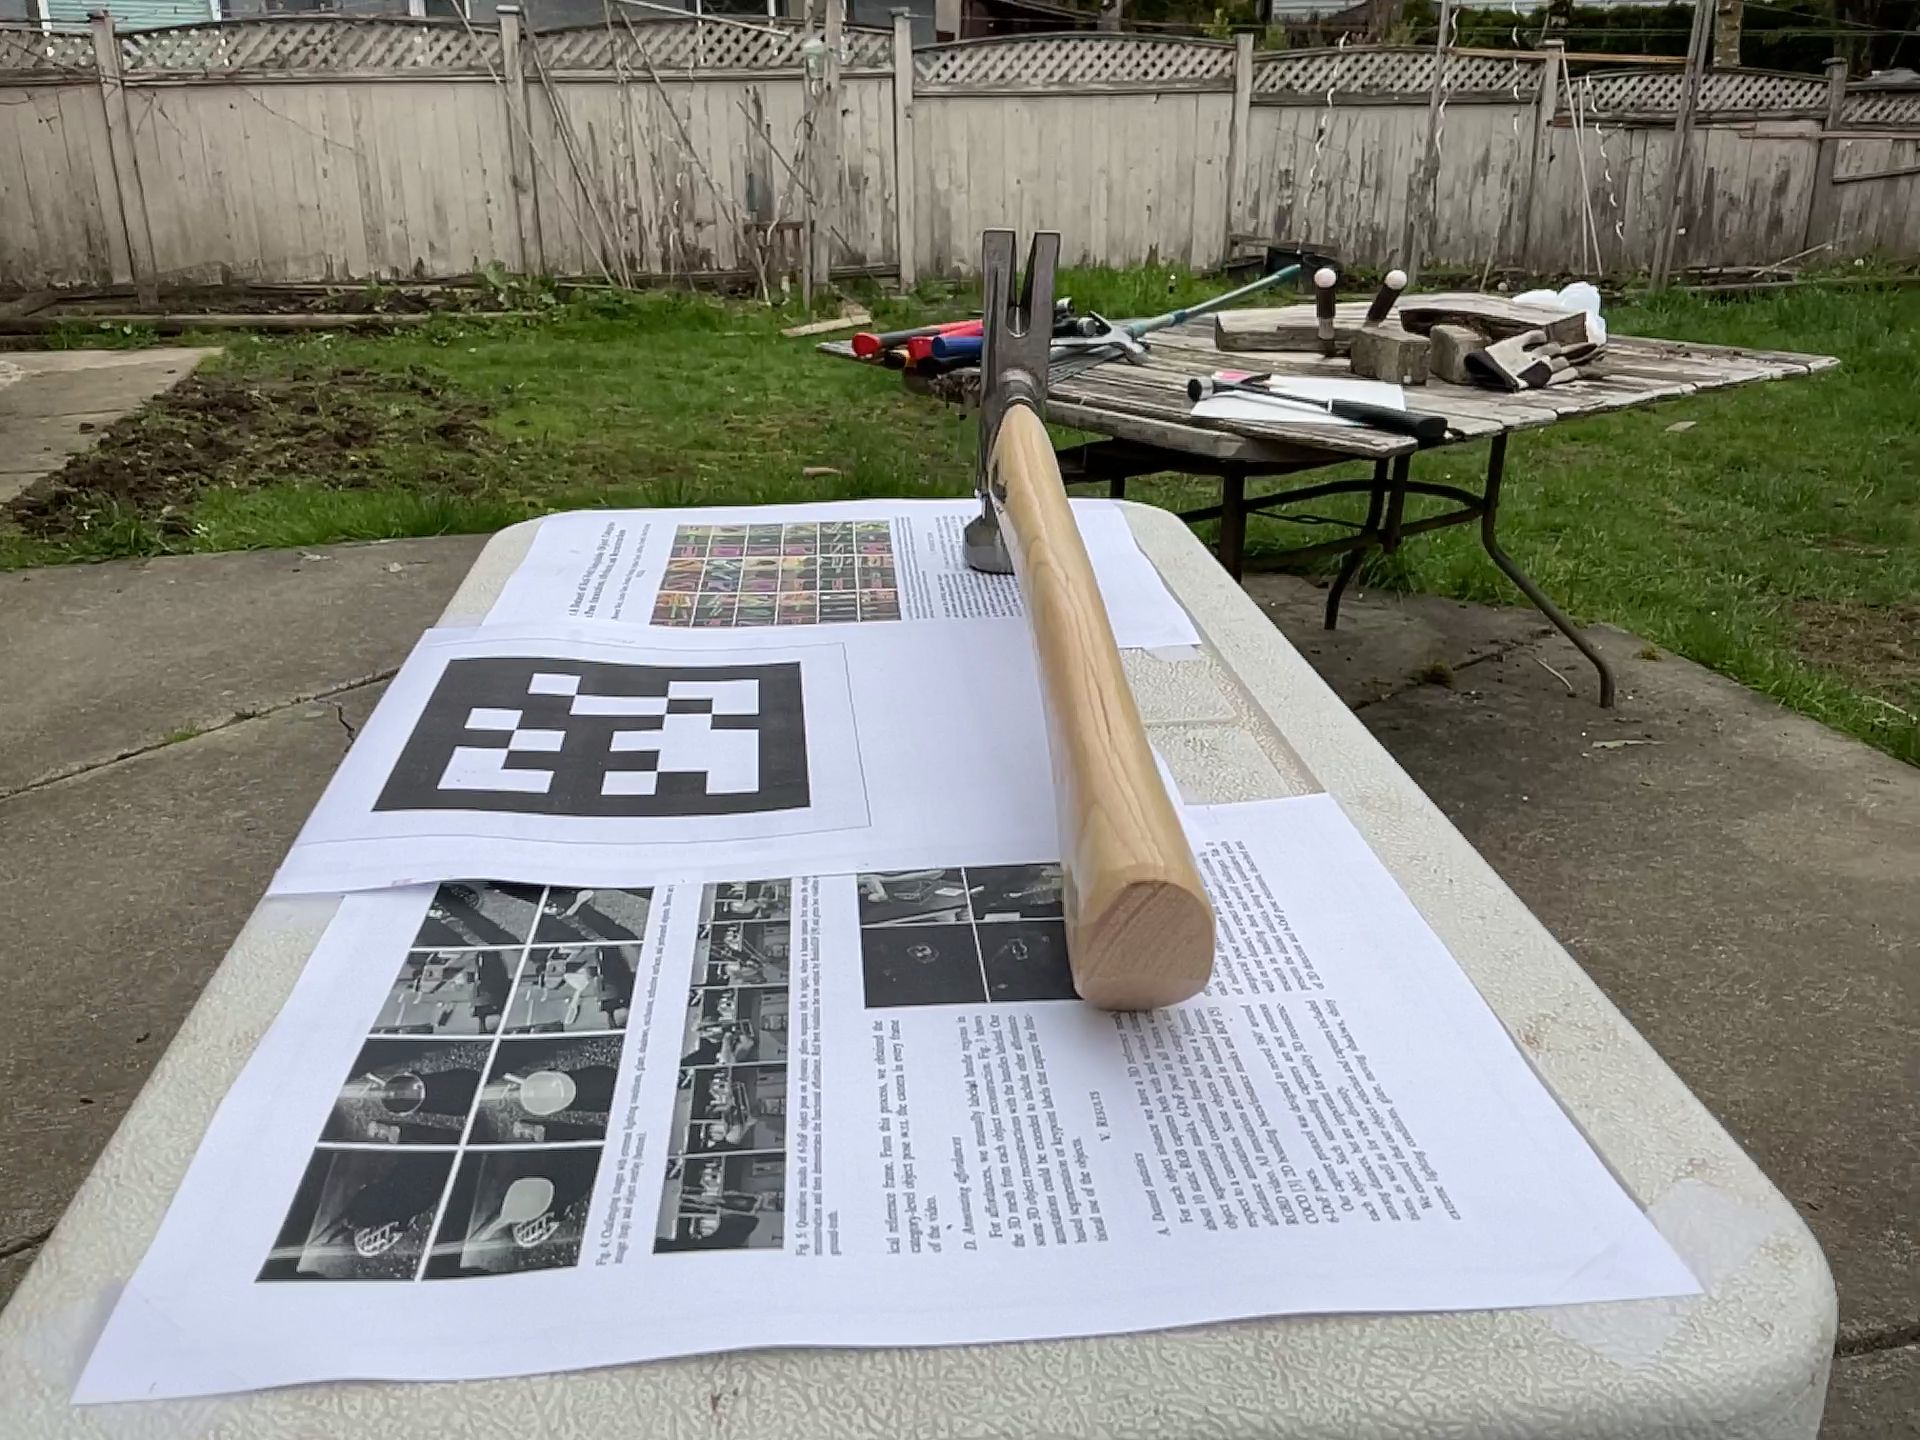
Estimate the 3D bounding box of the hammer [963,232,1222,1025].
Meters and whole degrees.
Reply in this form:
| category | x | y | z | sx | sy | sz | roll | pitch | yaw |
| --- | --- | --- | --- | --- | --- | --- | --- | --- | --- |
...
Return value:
| category | x | y | z | sx | sy | sz | roll | pitch | yaw |
| --- | --- | --- | --- | --- | --- | --- | --- | --- | --- |
| hammer | 0.032 | -0.051 | 0.522 | 0.038 | 0.146 | 0.411 | 0 | 27 | -3 |
